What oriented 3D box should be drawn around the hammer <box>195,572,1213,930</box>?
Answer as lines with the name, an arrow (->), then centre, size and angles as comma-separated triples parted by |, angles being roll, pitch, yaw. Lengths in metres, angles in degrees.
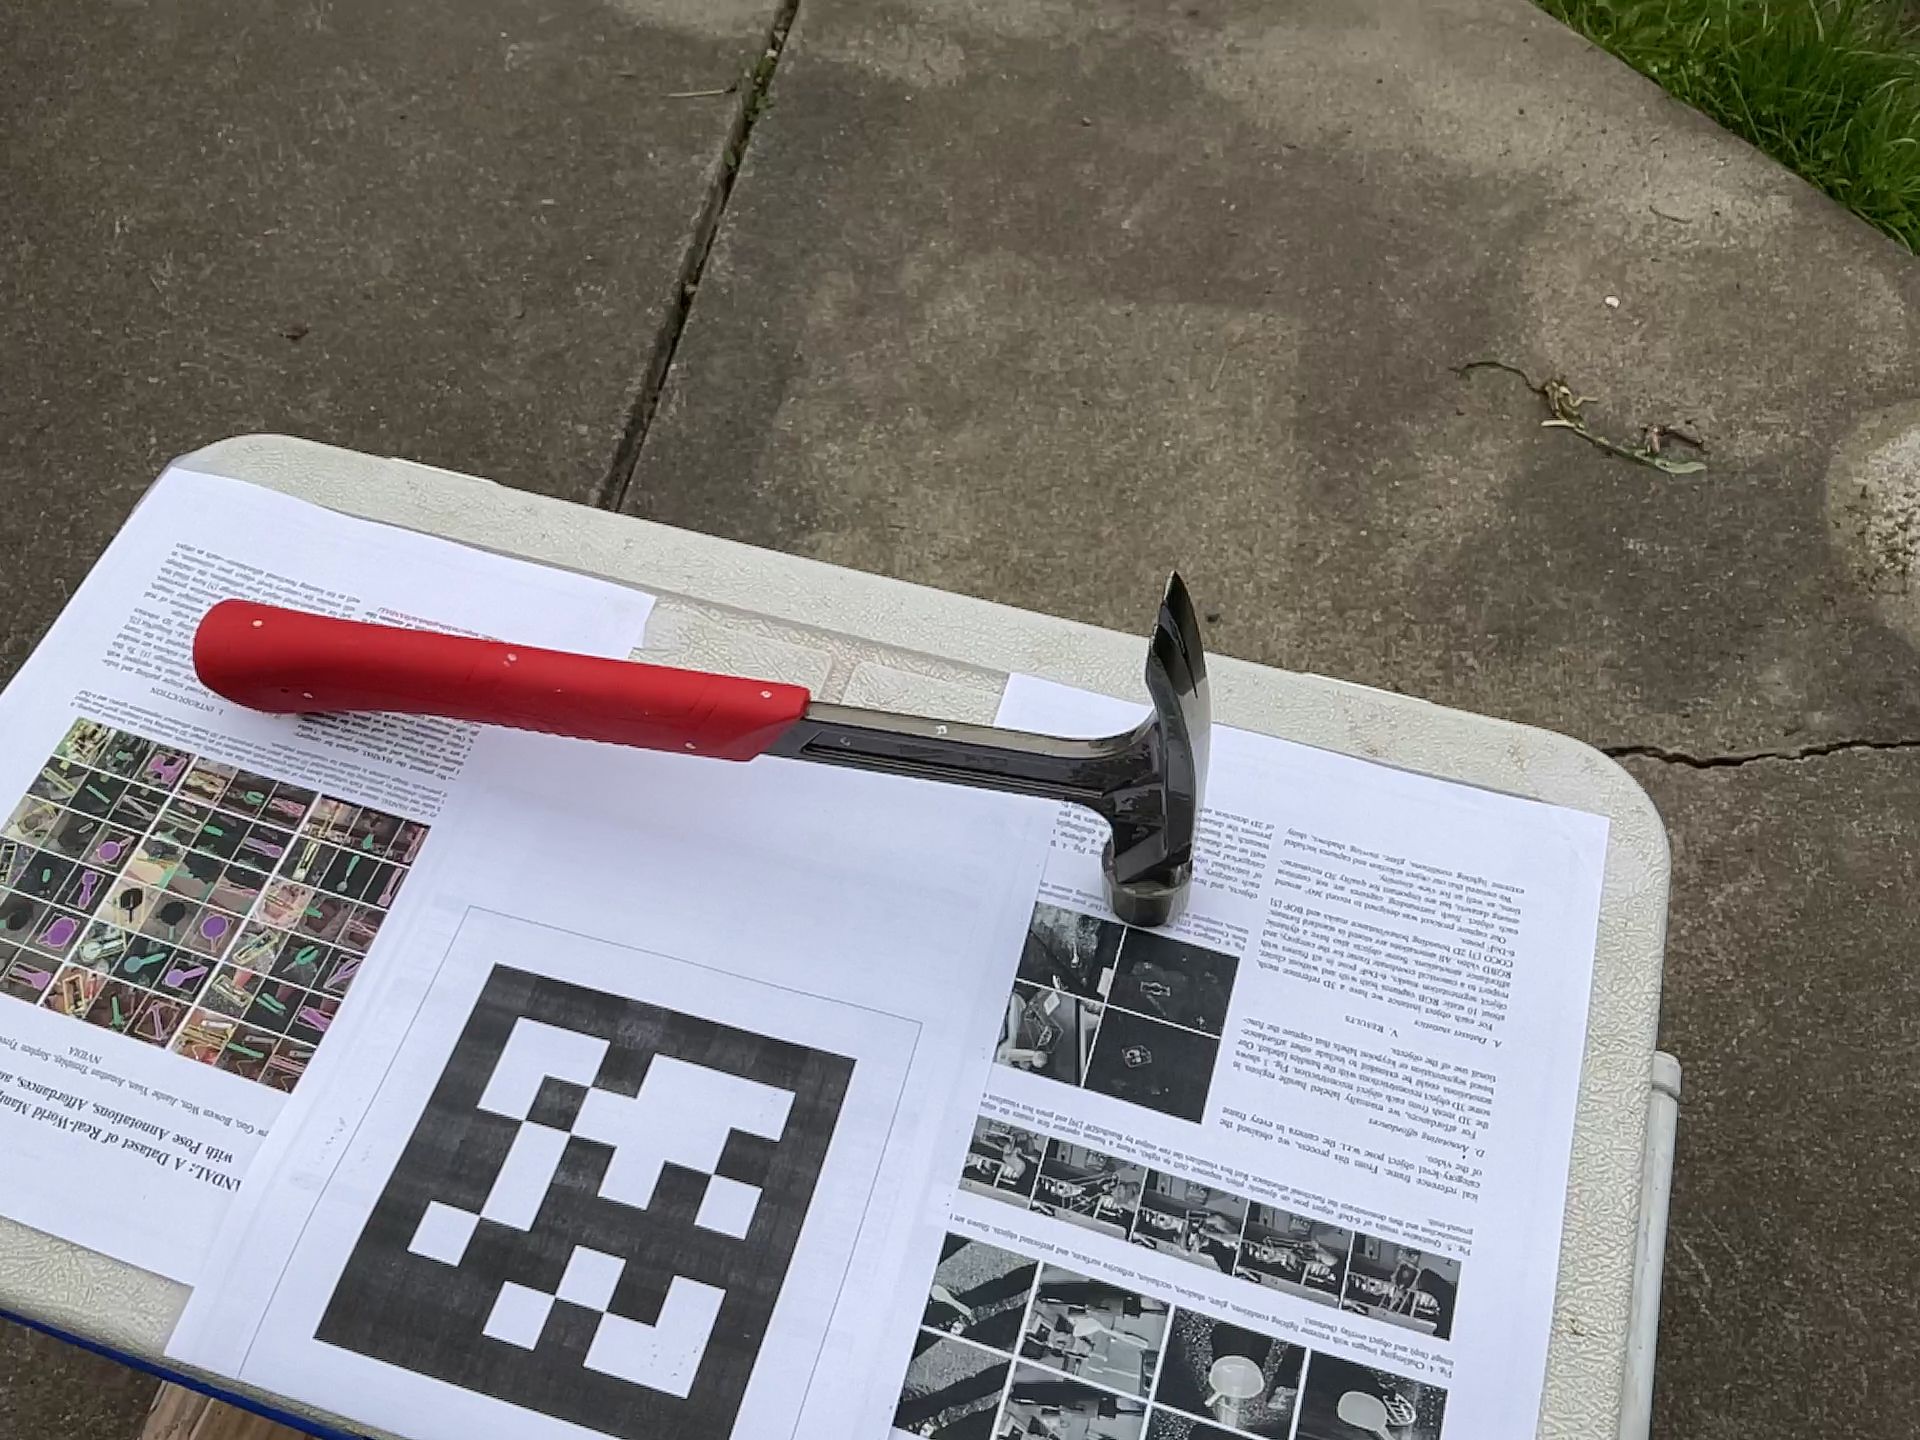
hammer -> -0.097, -0.008, 0.533 | 0.359, 0.149, 0.037 | 9, 54, 14
